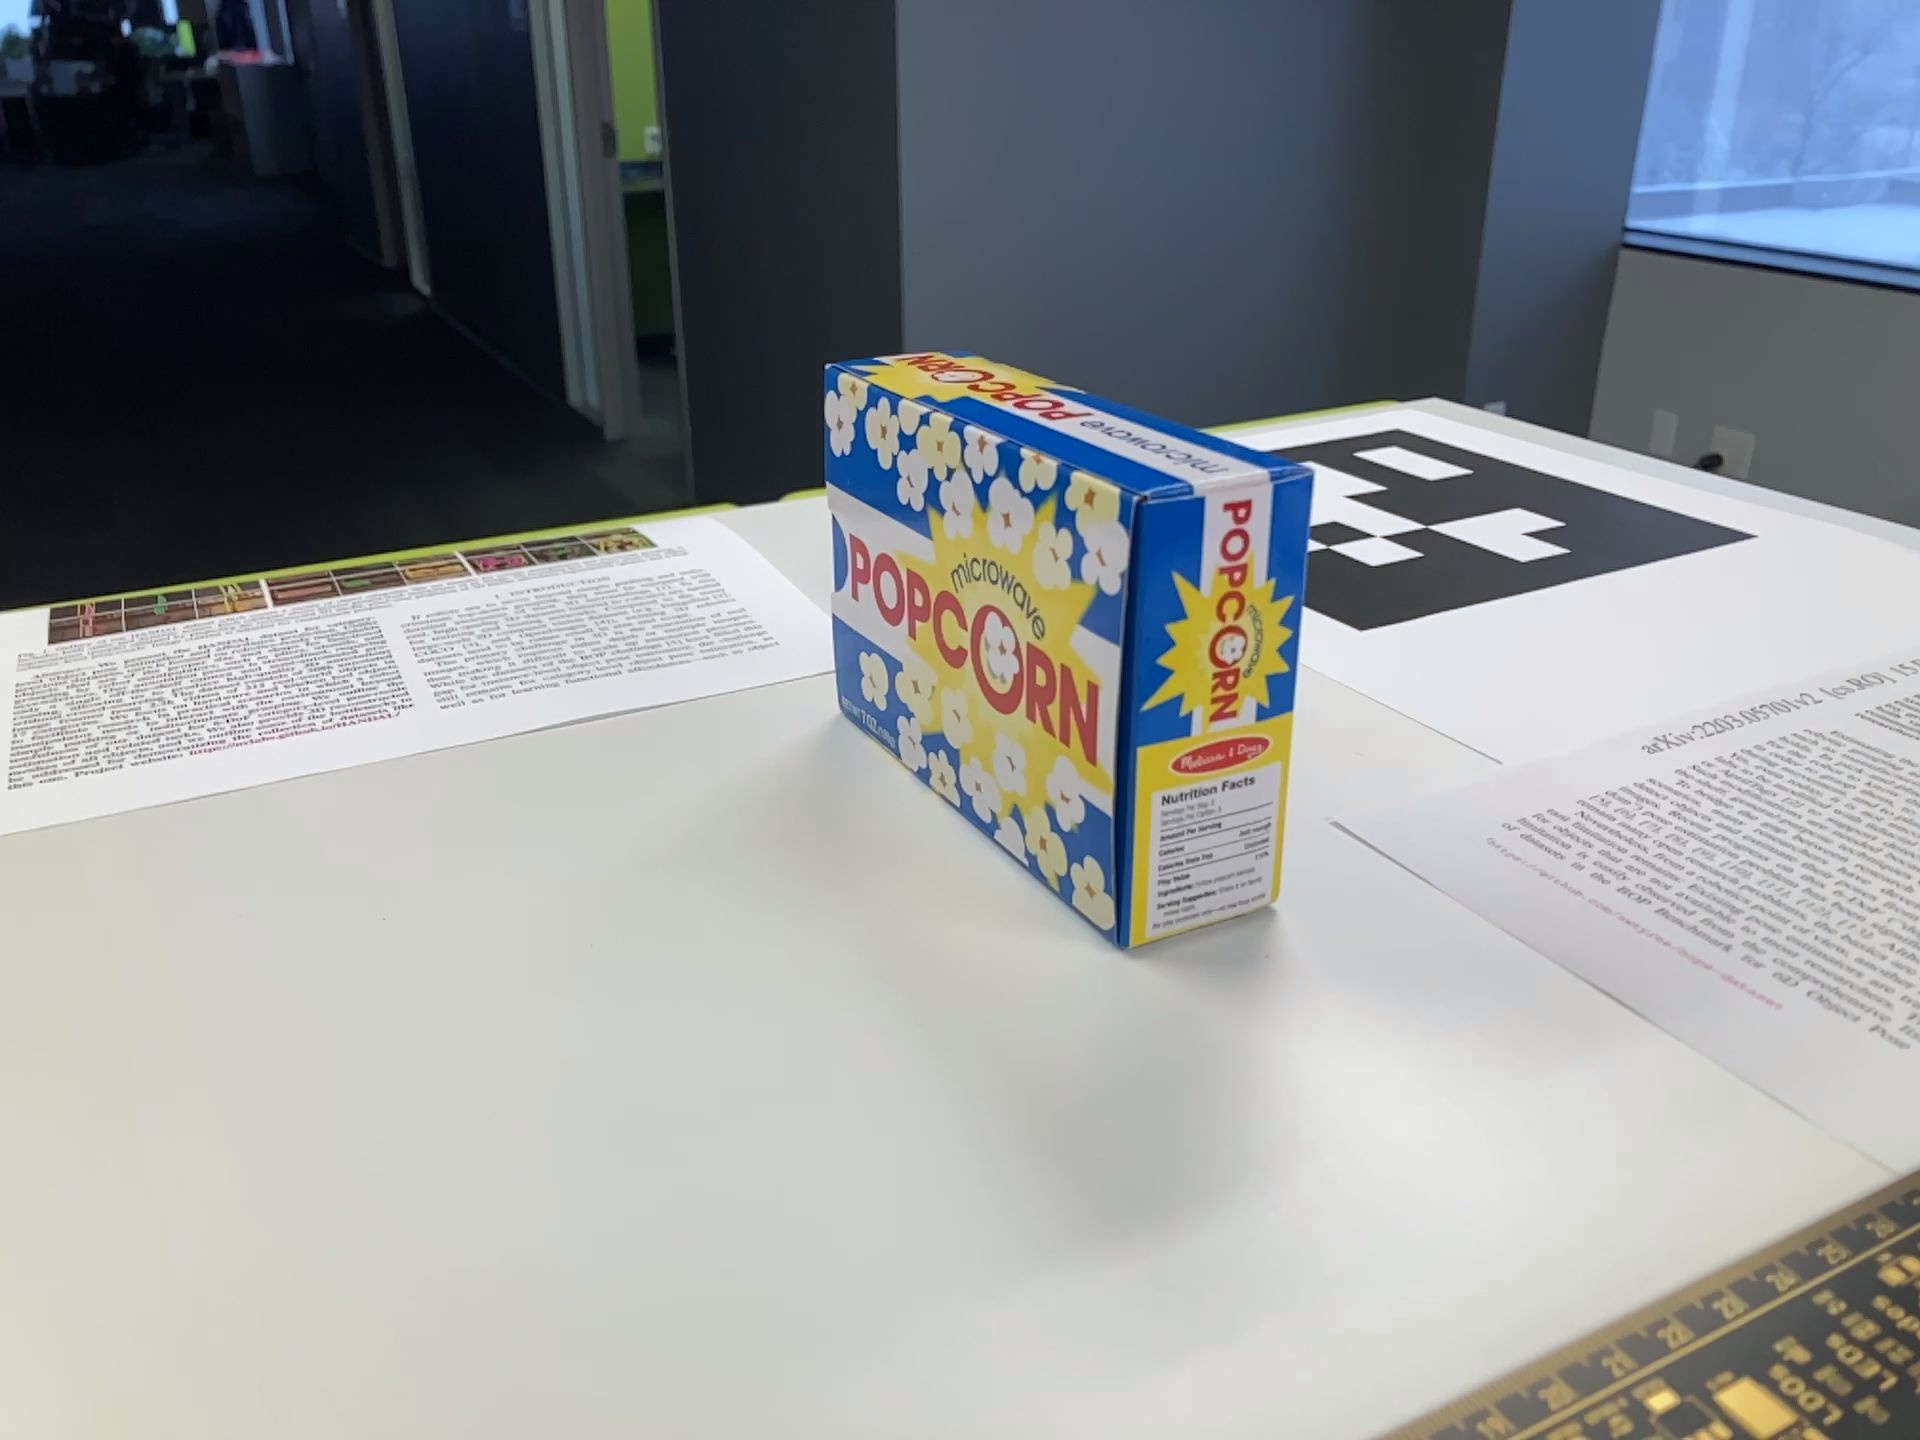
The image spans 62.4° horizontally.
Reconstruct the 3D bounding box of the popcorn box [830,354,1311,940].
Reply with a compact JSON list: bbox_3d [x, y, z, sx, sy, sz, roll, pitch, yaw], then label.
[{"bbox_3d":[0.016,-0.023,0.327,0.038,0.085,0.126,-13,26,-25],"label":"popcorn box"}]
